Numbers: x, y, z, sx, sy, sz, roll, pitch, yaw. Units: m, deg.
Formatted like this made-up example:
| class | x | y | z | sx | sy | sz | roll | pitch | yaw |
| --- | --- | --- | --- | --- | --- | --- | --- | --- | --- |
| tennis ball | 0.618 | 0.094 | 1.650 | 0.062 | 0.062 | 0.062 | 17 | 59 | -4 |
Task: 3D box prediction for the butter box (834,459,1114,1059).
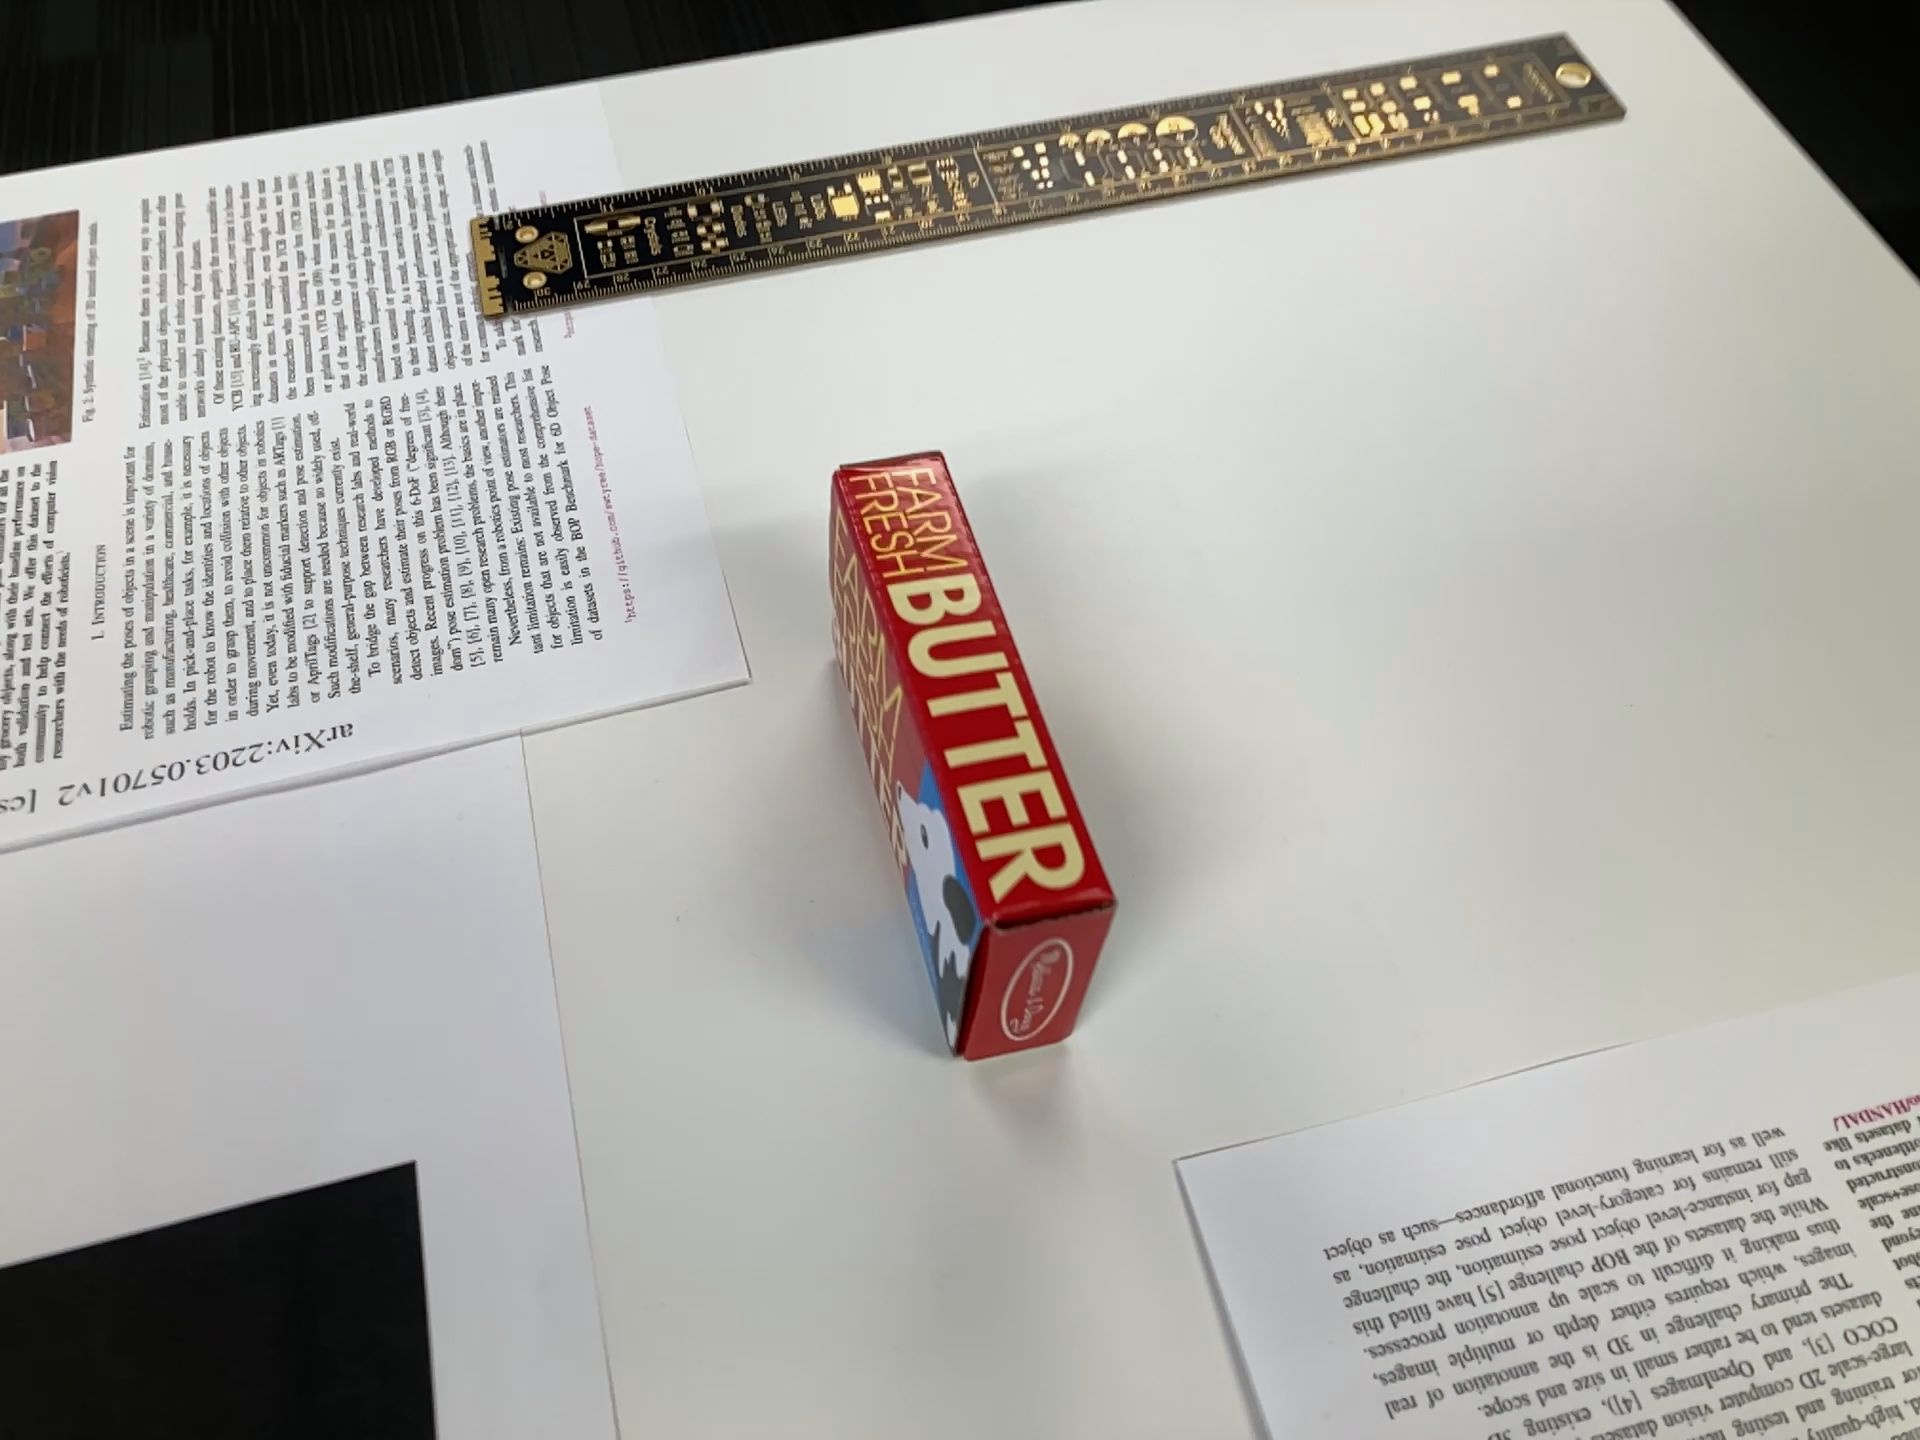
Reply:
| class | x | y | z | sx | sy | sz | roll | pitch | yaw |
| --- | --- | --- | --- | --- | --- | --- | --- | --- | --- |
| butter box | -0.001 | 0.005 | 0.299 | 0.024 | 0.053 | 0.103 | -10 | 57 | -13 |
